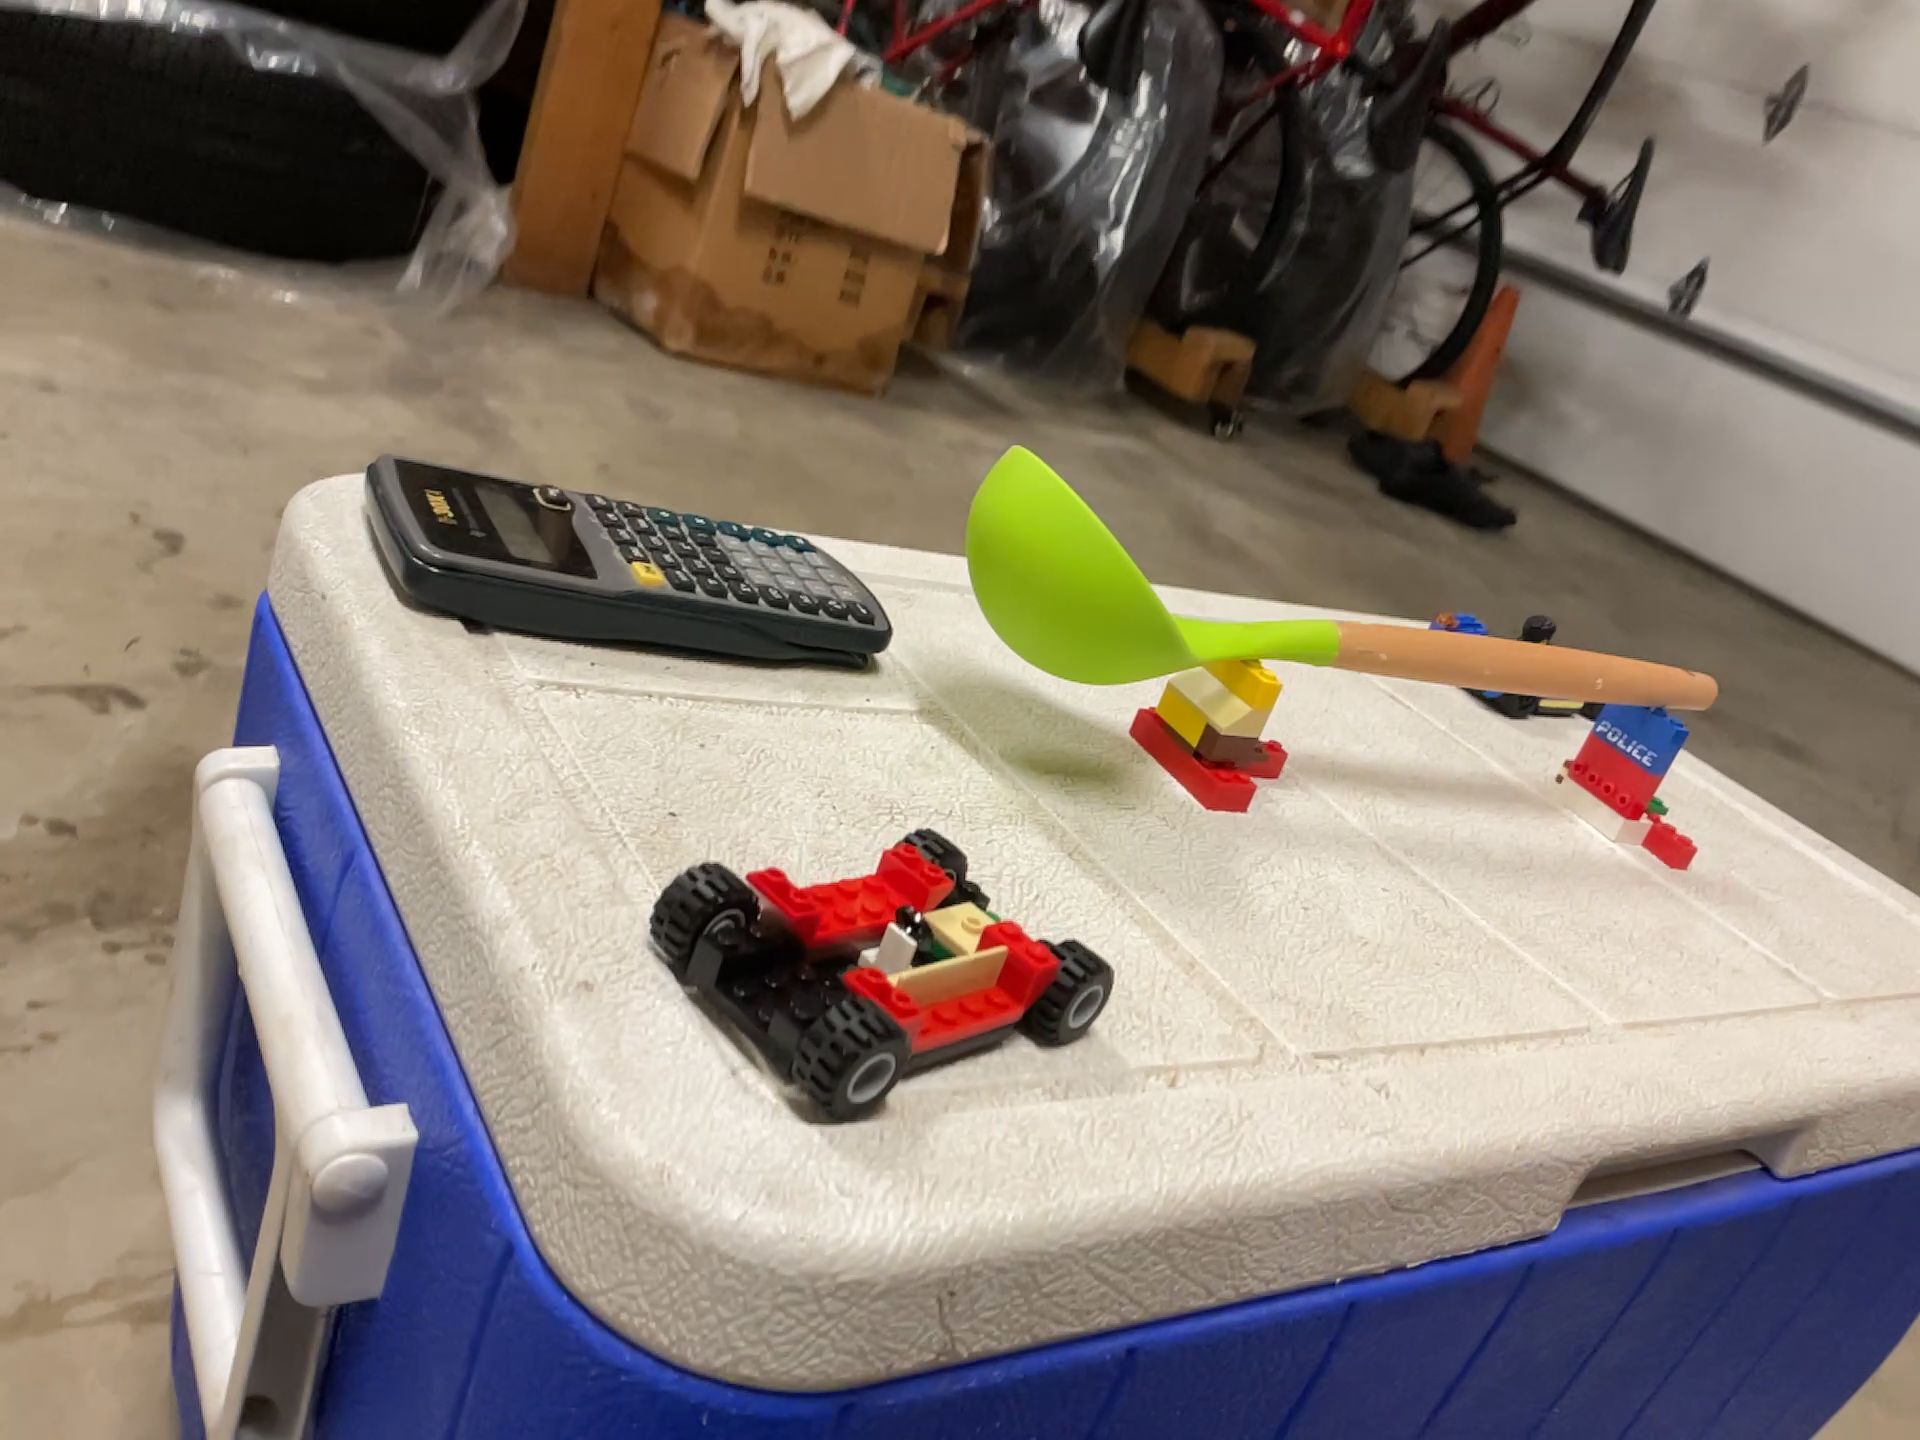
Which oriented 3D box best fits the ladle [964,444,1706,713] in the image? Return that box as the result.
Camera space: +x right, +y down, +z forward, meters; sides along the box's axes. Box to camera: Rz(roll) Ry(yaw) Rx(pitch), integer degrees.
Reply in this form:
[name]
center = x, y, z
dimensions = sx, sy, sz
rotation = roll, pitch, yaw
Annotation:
[ladle]
center = 0.143, -0.033, 0.523
dimensions = 0.320, 0.062, 0.078
rotation = 5, 26, -29
